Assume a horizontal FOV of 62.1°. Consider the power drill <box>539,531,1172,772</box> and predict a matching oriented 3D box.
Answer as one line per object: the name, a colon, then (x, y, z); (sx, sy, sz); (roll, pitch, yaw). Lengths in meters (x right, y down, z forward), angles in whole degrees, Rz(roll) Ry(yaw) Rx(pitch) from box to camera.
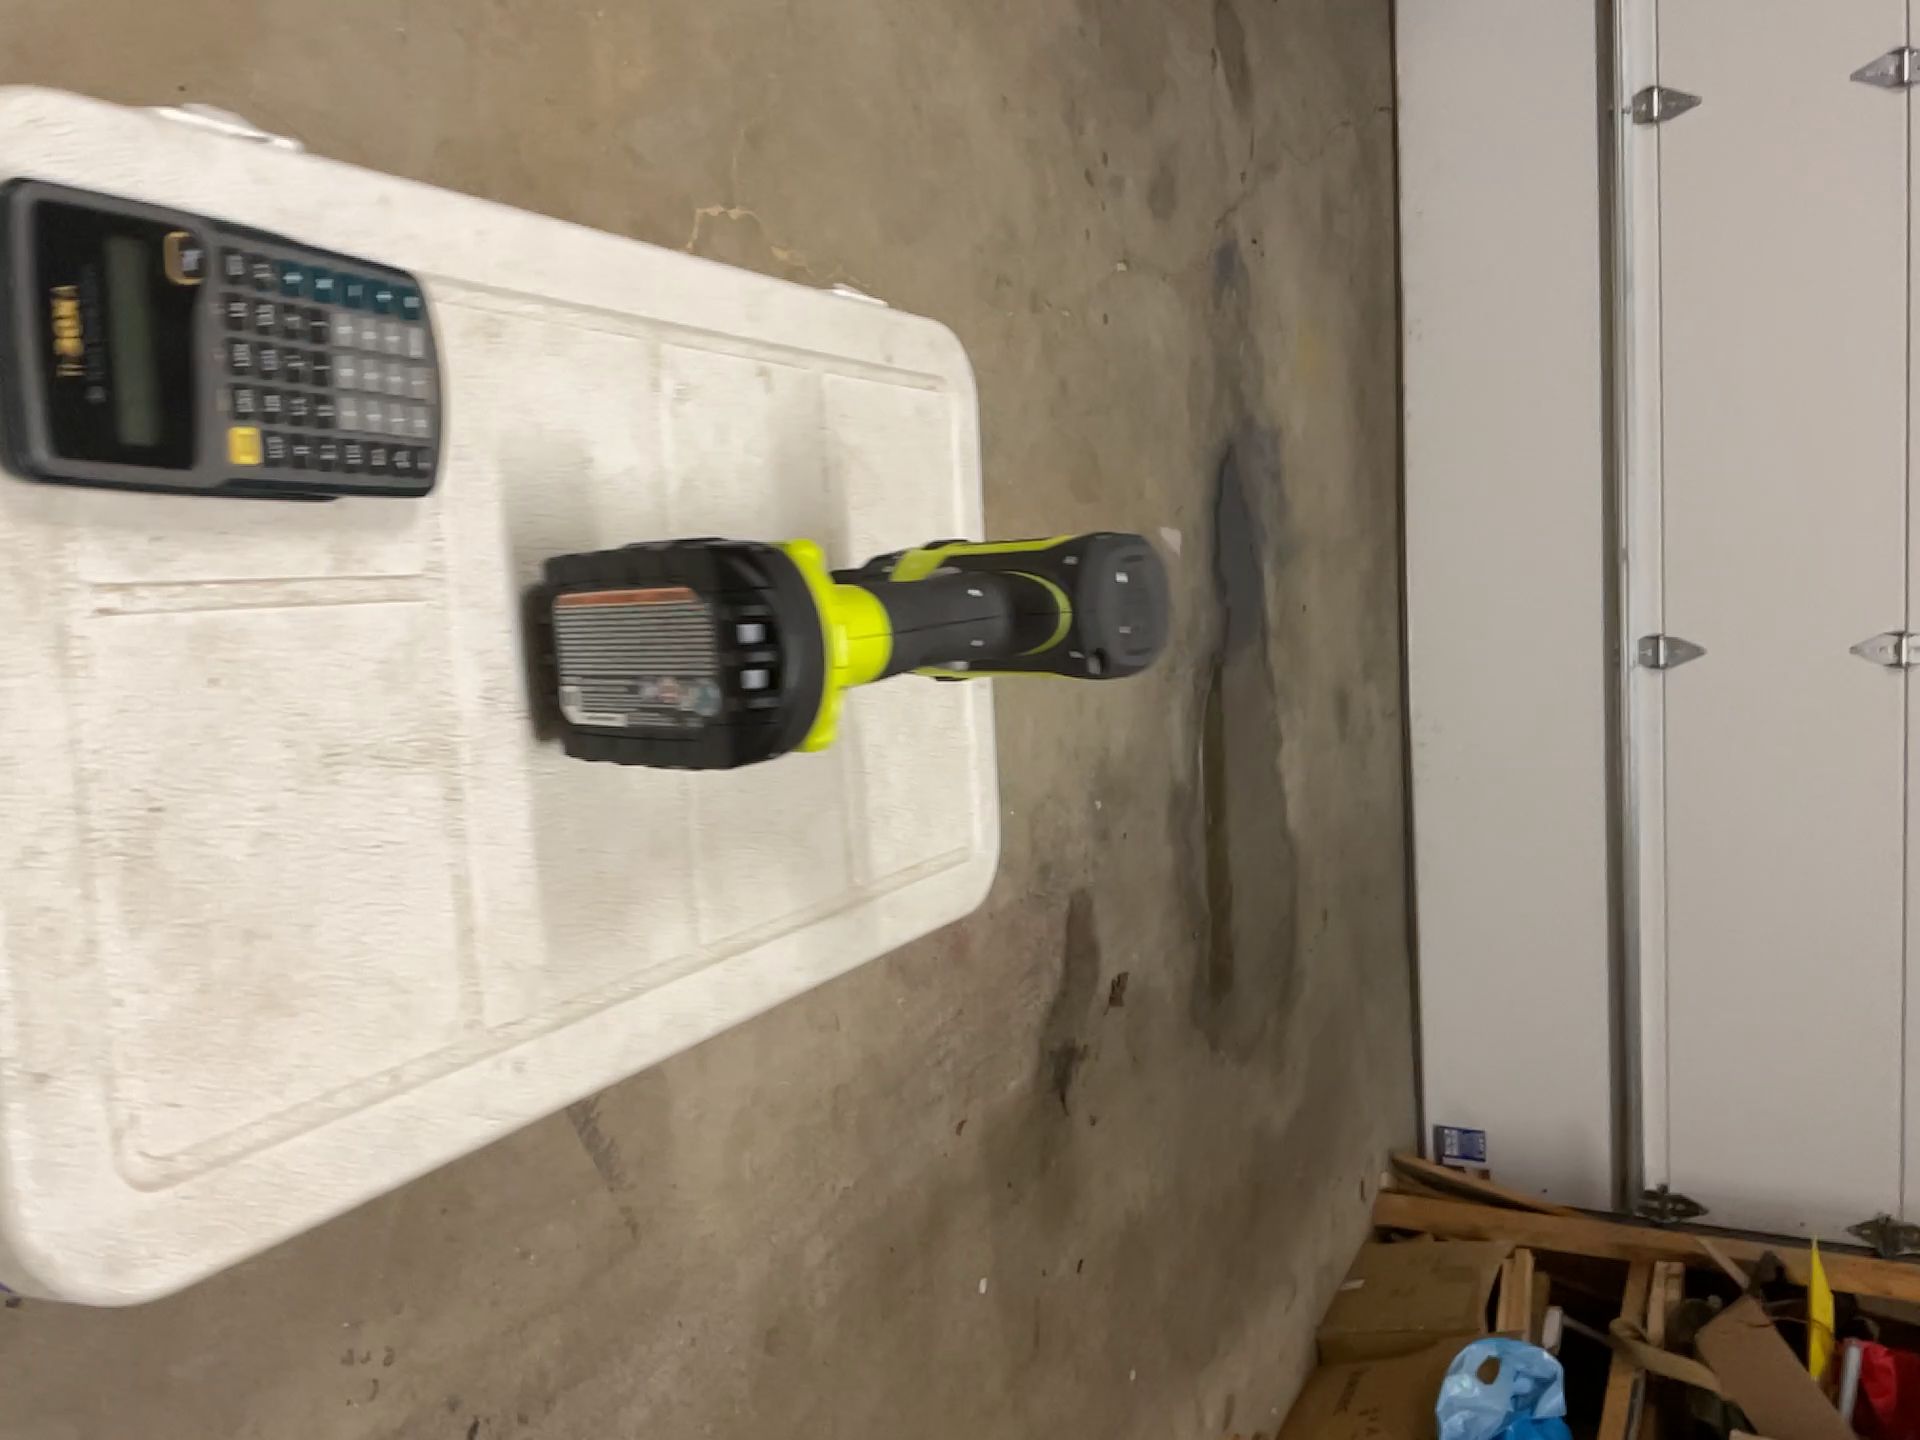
power drill: (-0.051, -0.038, 0.652); (0.229, 0.190, 0.080); (-12, 100, -48)
